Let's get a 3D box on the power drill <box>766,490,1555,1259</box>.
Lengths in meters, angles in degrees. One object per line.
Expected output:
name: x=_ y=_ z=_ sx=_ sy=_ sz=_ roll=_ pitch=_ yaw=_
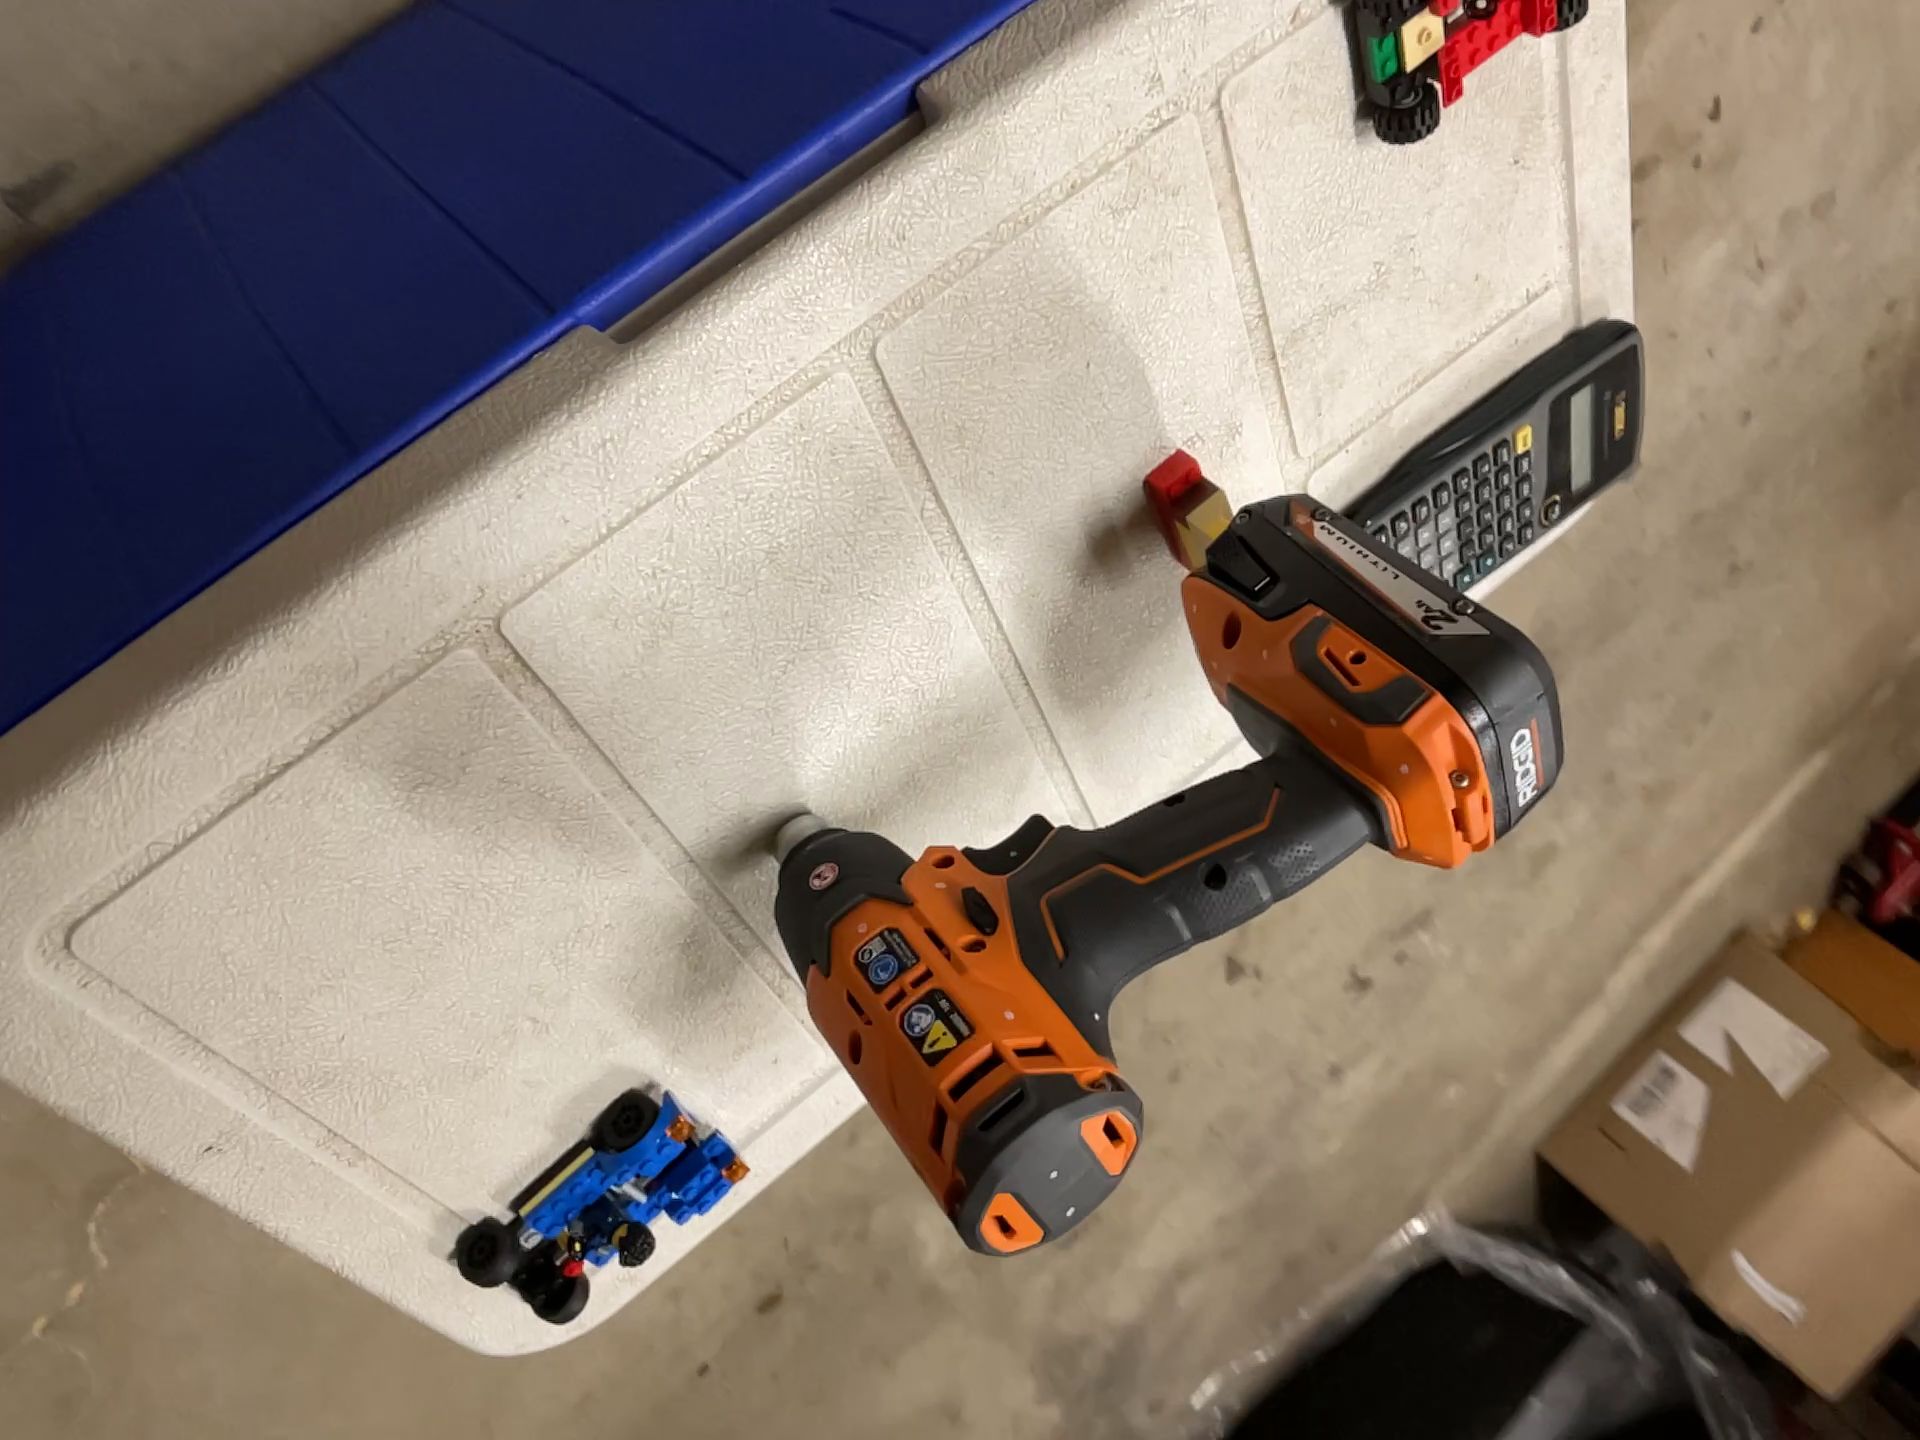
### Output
power drill: x=0.048 y=0.032 z=0.496 sx=0.226 sy=0.164 sz=0.084 roll=-39 pitch=139 yaw=-8
